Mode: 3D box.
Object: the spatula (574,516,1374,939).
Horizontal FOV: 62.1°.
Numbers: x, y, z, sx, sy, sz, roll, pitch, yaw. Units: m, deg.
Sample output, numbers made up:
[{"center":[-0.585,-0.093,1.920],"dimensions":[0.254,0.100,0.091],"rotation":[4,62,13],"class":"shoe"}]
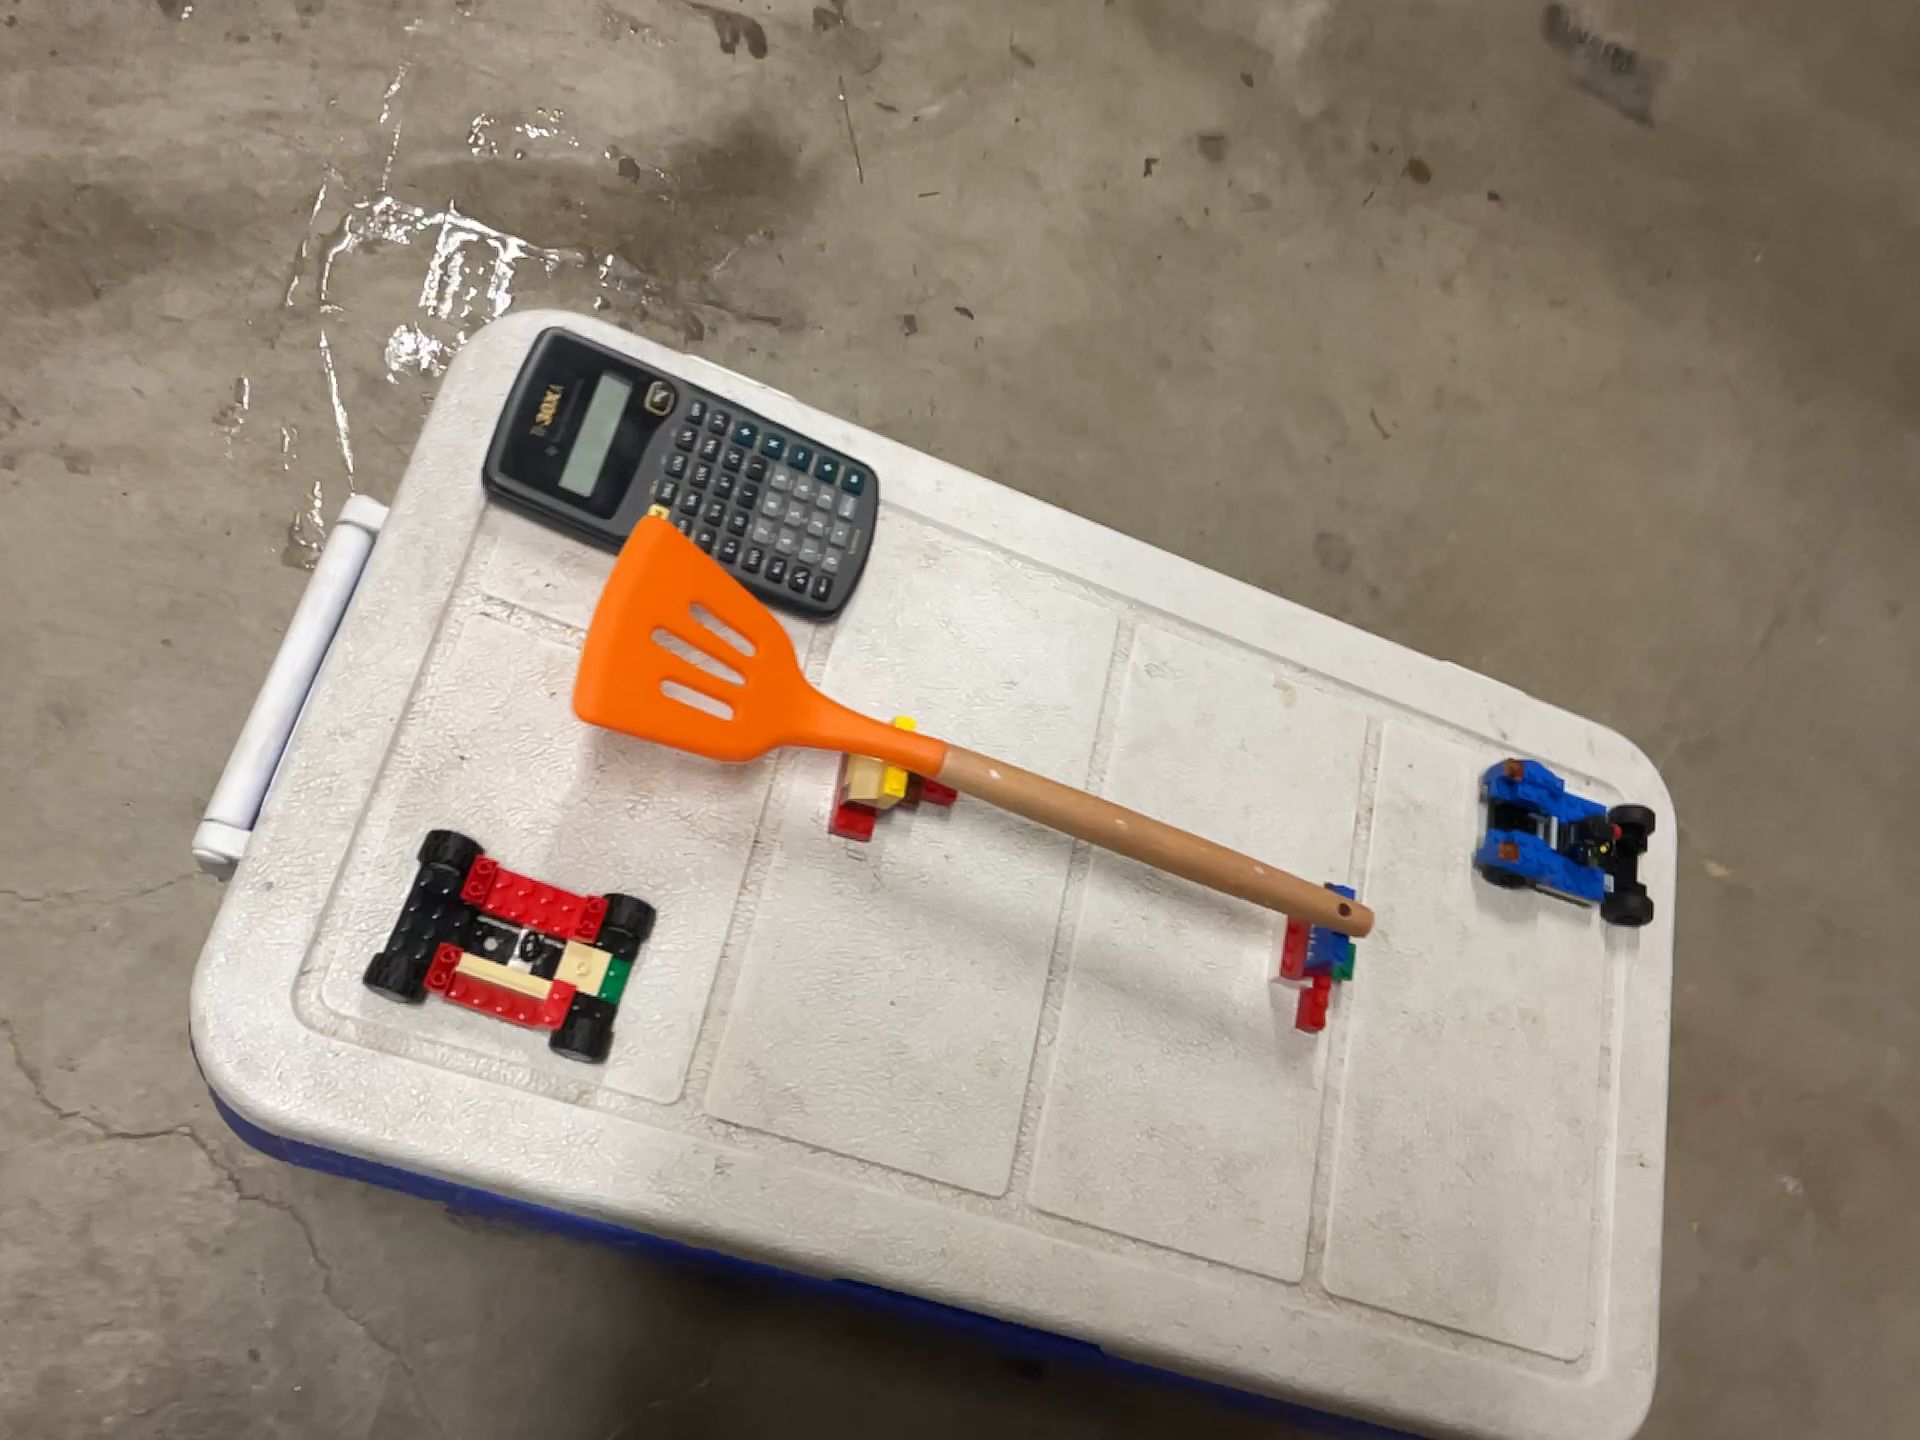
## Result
[{"center":[0.018,0.023,0.595],"dimensions":[0.322,0.041,0.081],"rotation":[21,68,-12],"class":"spatula"}]
